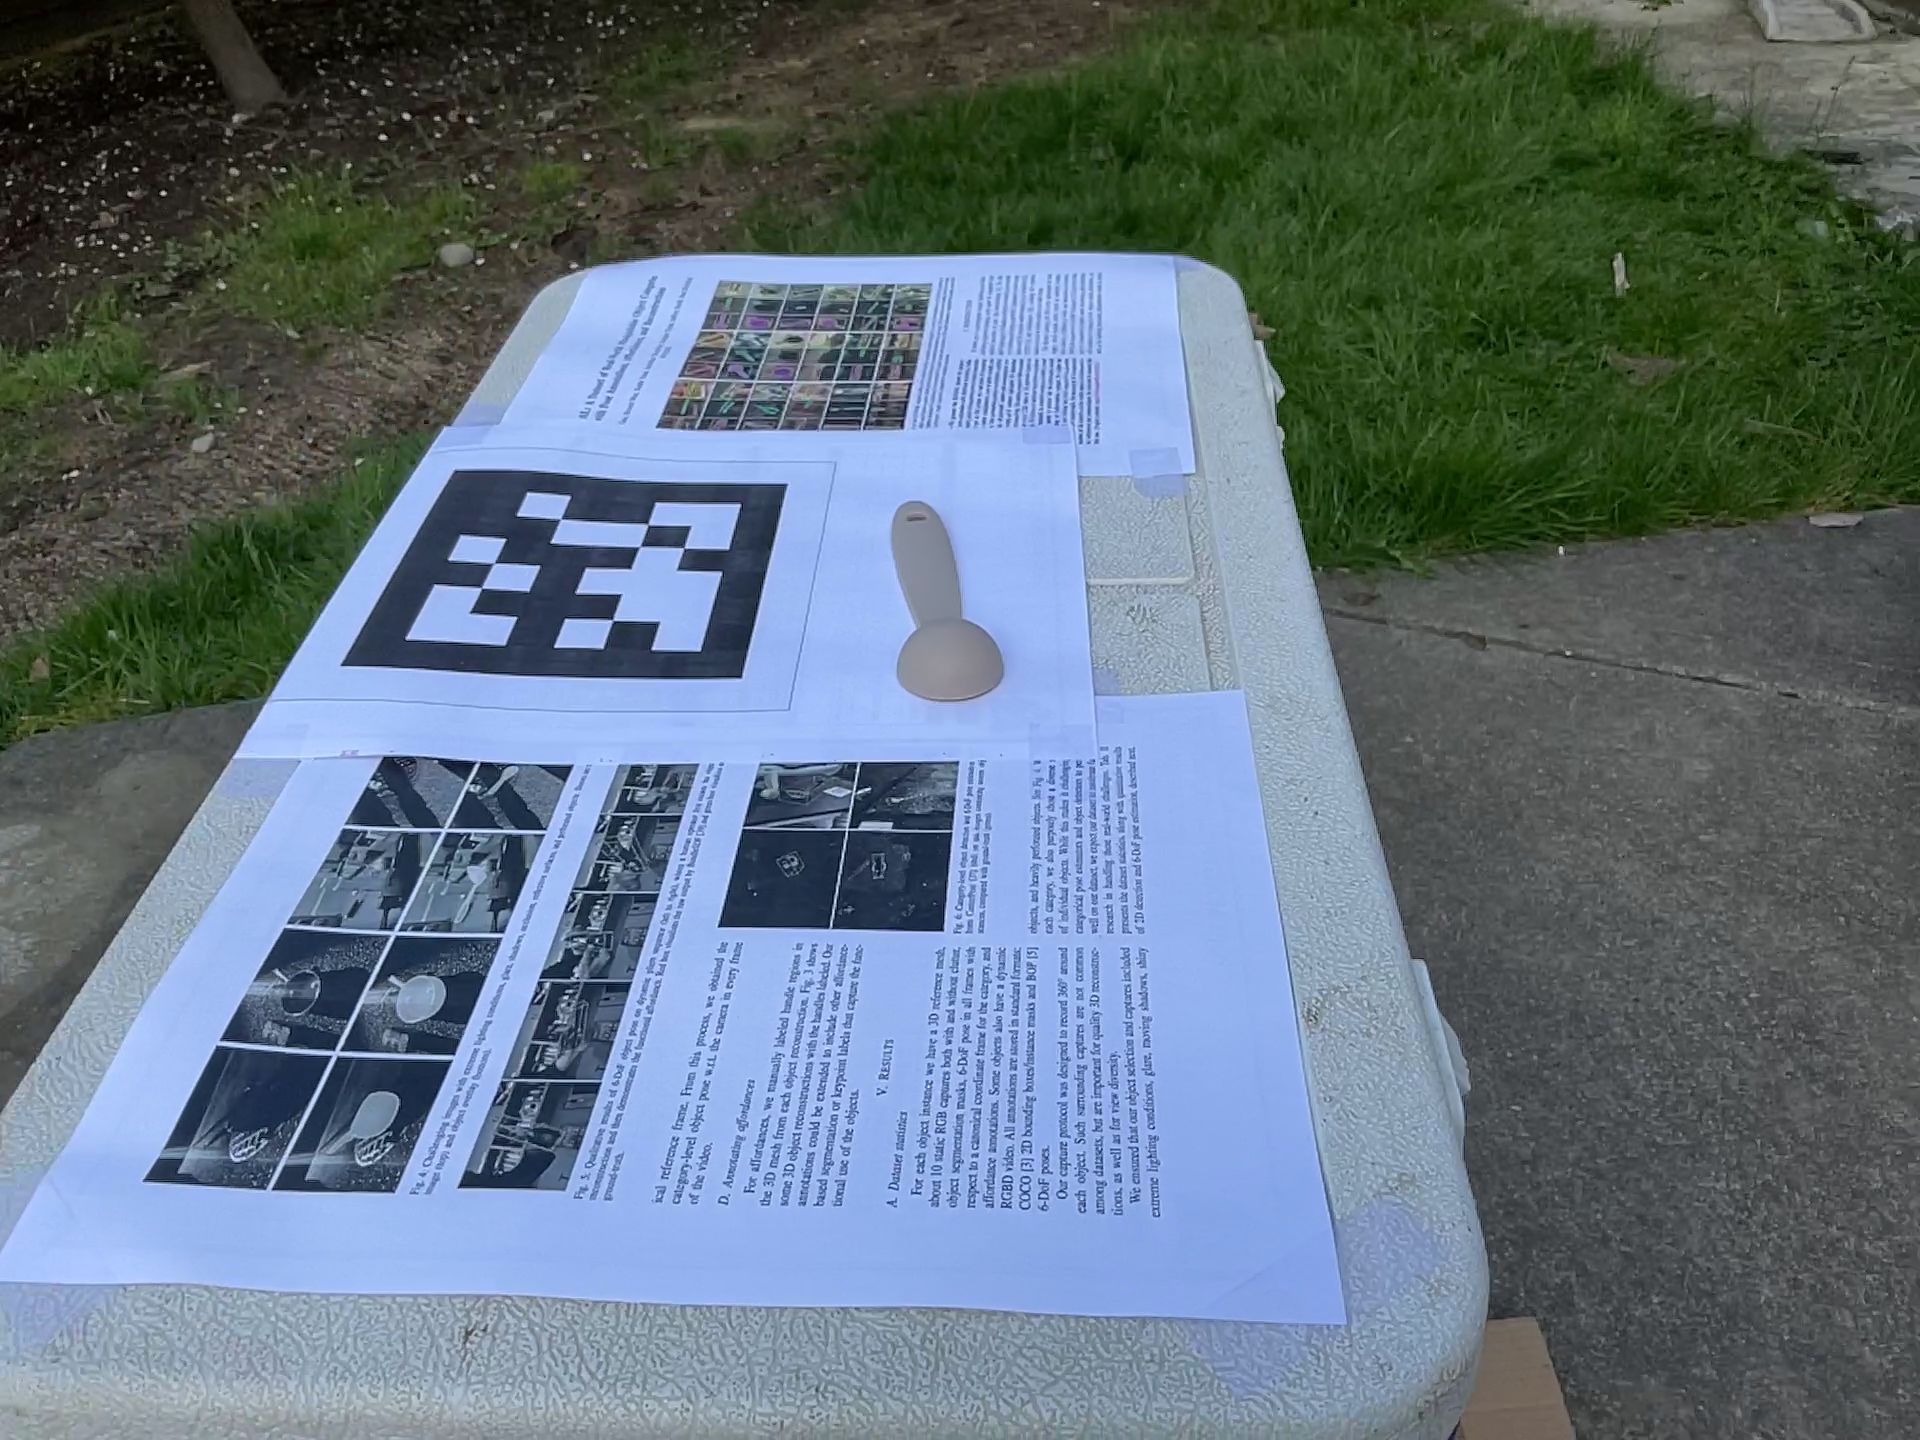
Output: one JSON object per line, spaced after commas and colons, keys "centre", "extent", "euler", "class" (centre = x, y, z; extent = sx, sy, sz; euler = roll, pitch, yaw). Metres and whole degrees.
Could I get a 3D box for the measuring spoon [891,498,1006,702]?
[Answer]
{"centre": [-0.010, -0.048, 0.531], "extent": [0.034, 0.018, 0.124], "euler": [-6, 37, -5], "class": "measuring spoon"}
